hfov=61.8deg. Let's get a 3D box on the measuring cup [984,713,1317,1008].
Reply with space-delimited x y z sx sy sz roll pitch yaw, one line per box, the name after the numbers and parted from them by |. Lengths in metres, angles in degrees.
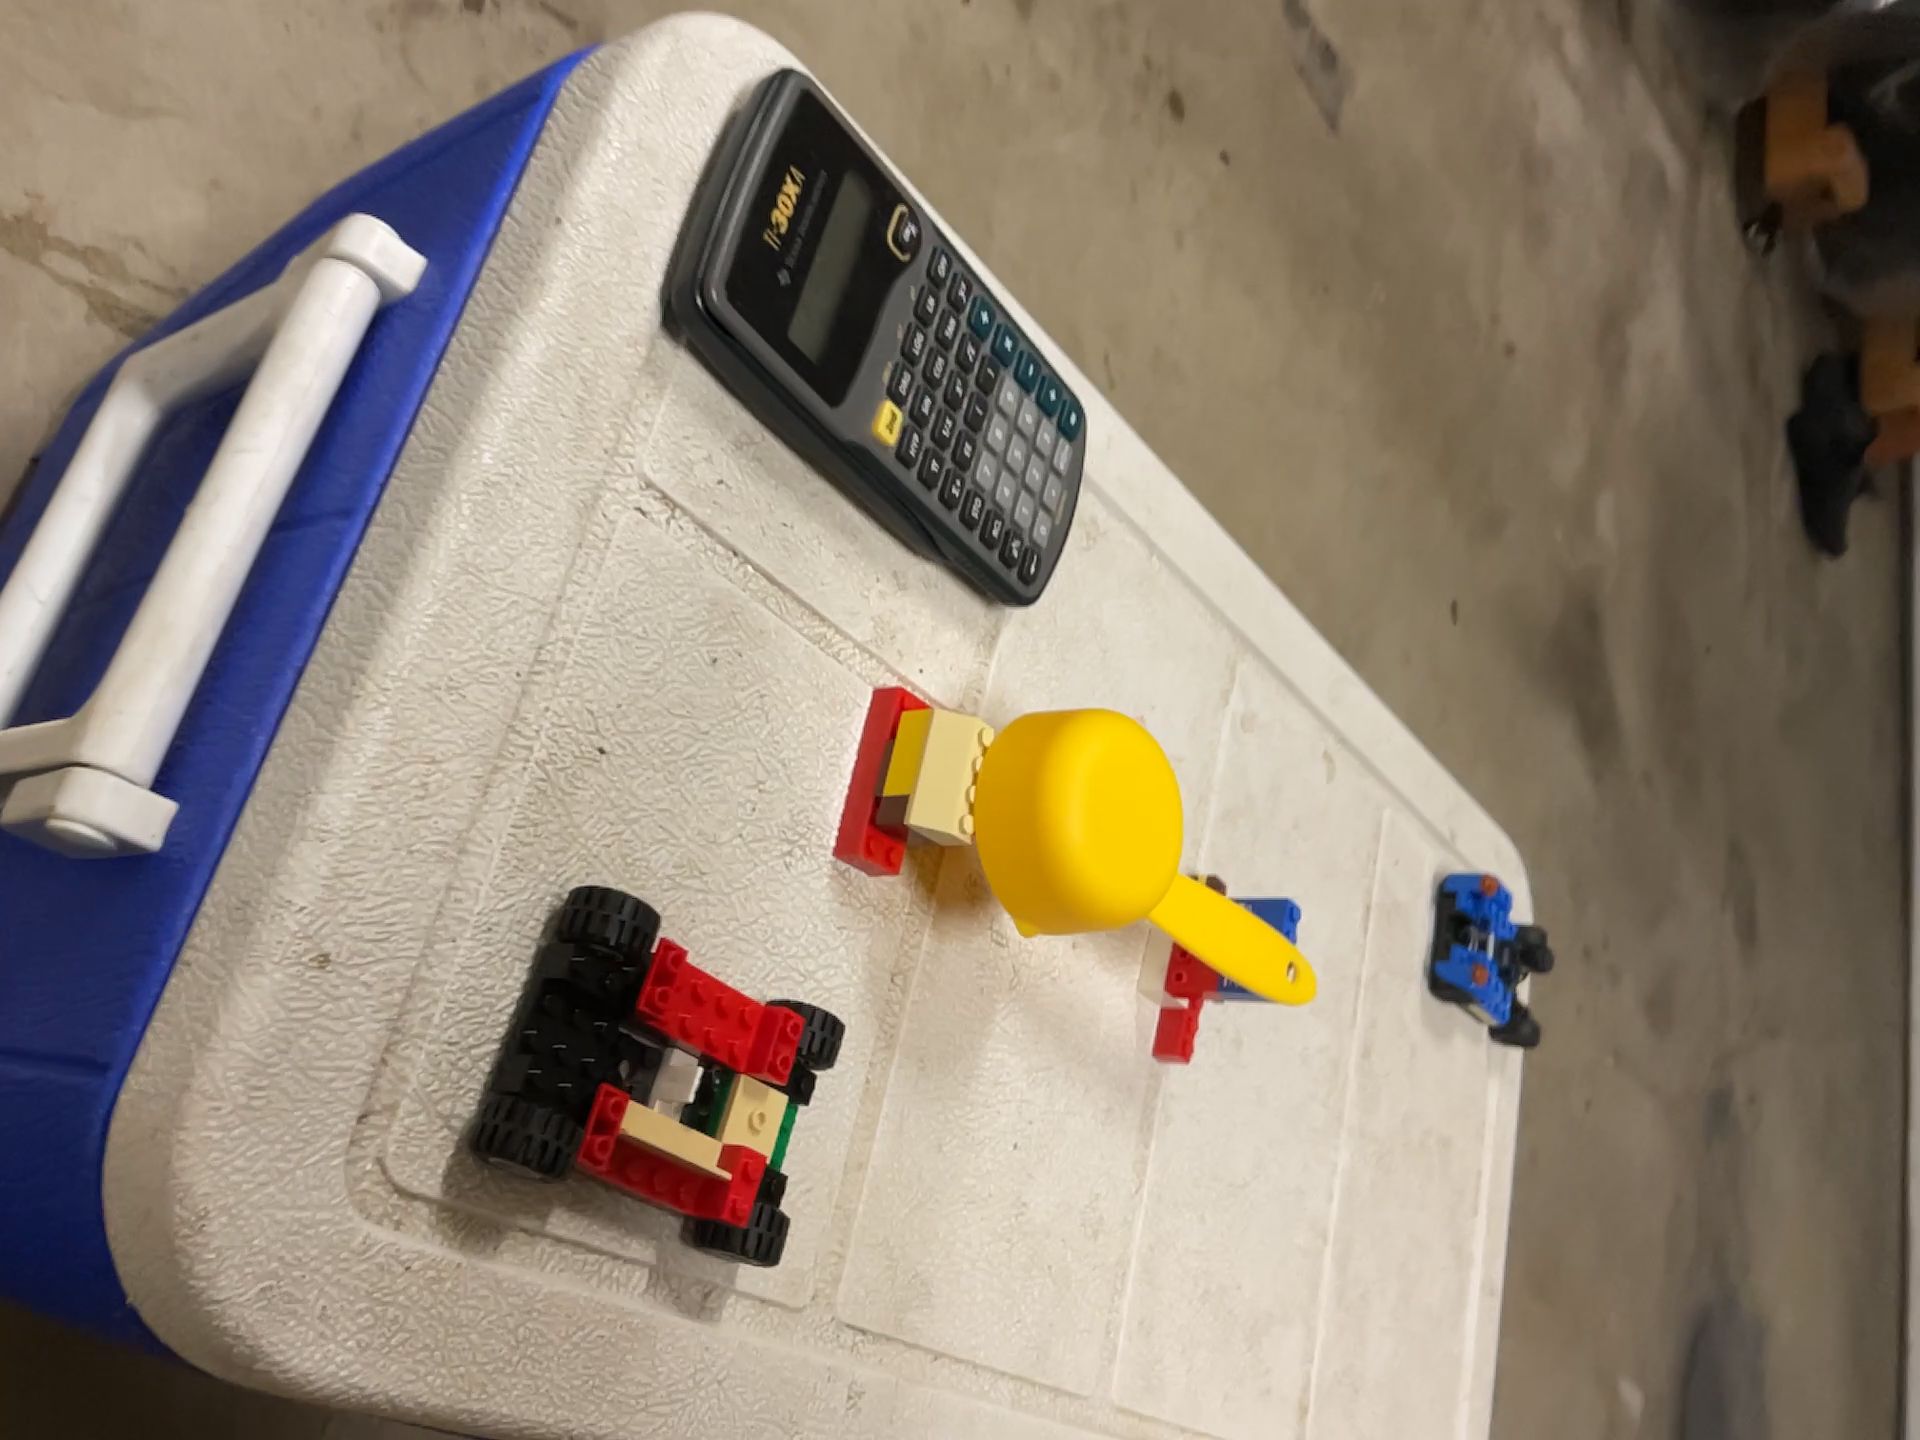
0.067 0.048 0.448 0.156 0.029 0.062 35 59 -37 | measuring cup
